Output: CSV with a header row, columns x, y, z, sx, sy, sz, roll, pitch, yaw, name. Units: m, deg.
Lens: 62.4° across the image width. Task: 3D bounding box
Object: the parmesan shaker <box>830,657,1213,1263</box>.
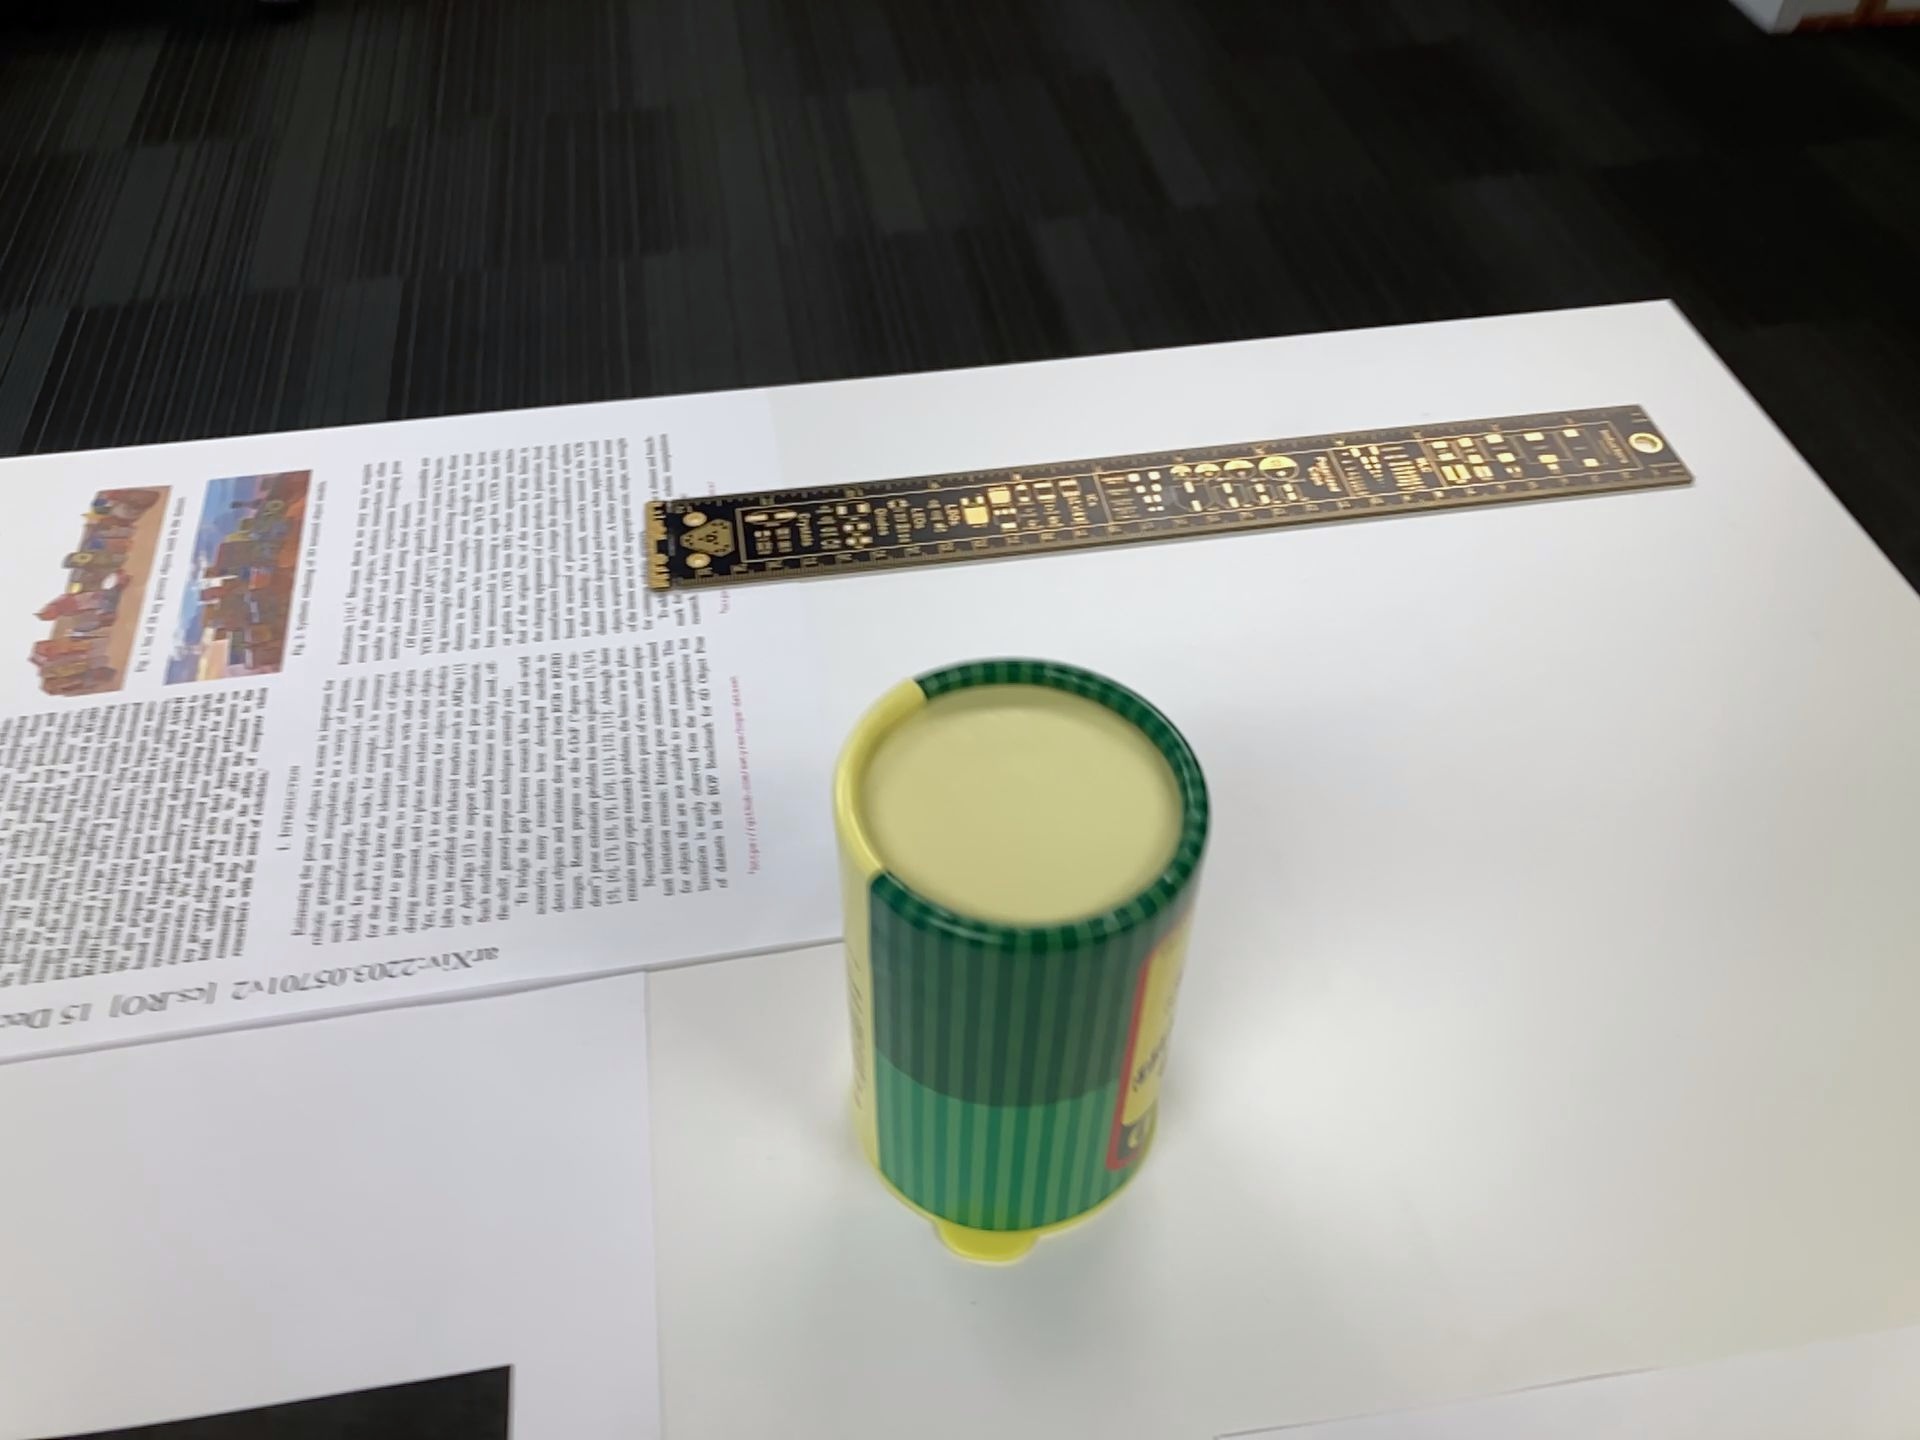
x,y,z,sx,sy,sz,roll,pitch,yaw,name
0.010,0.048,0.303,0.071,0.103,0.071,0,48,0,parmesan shaker
